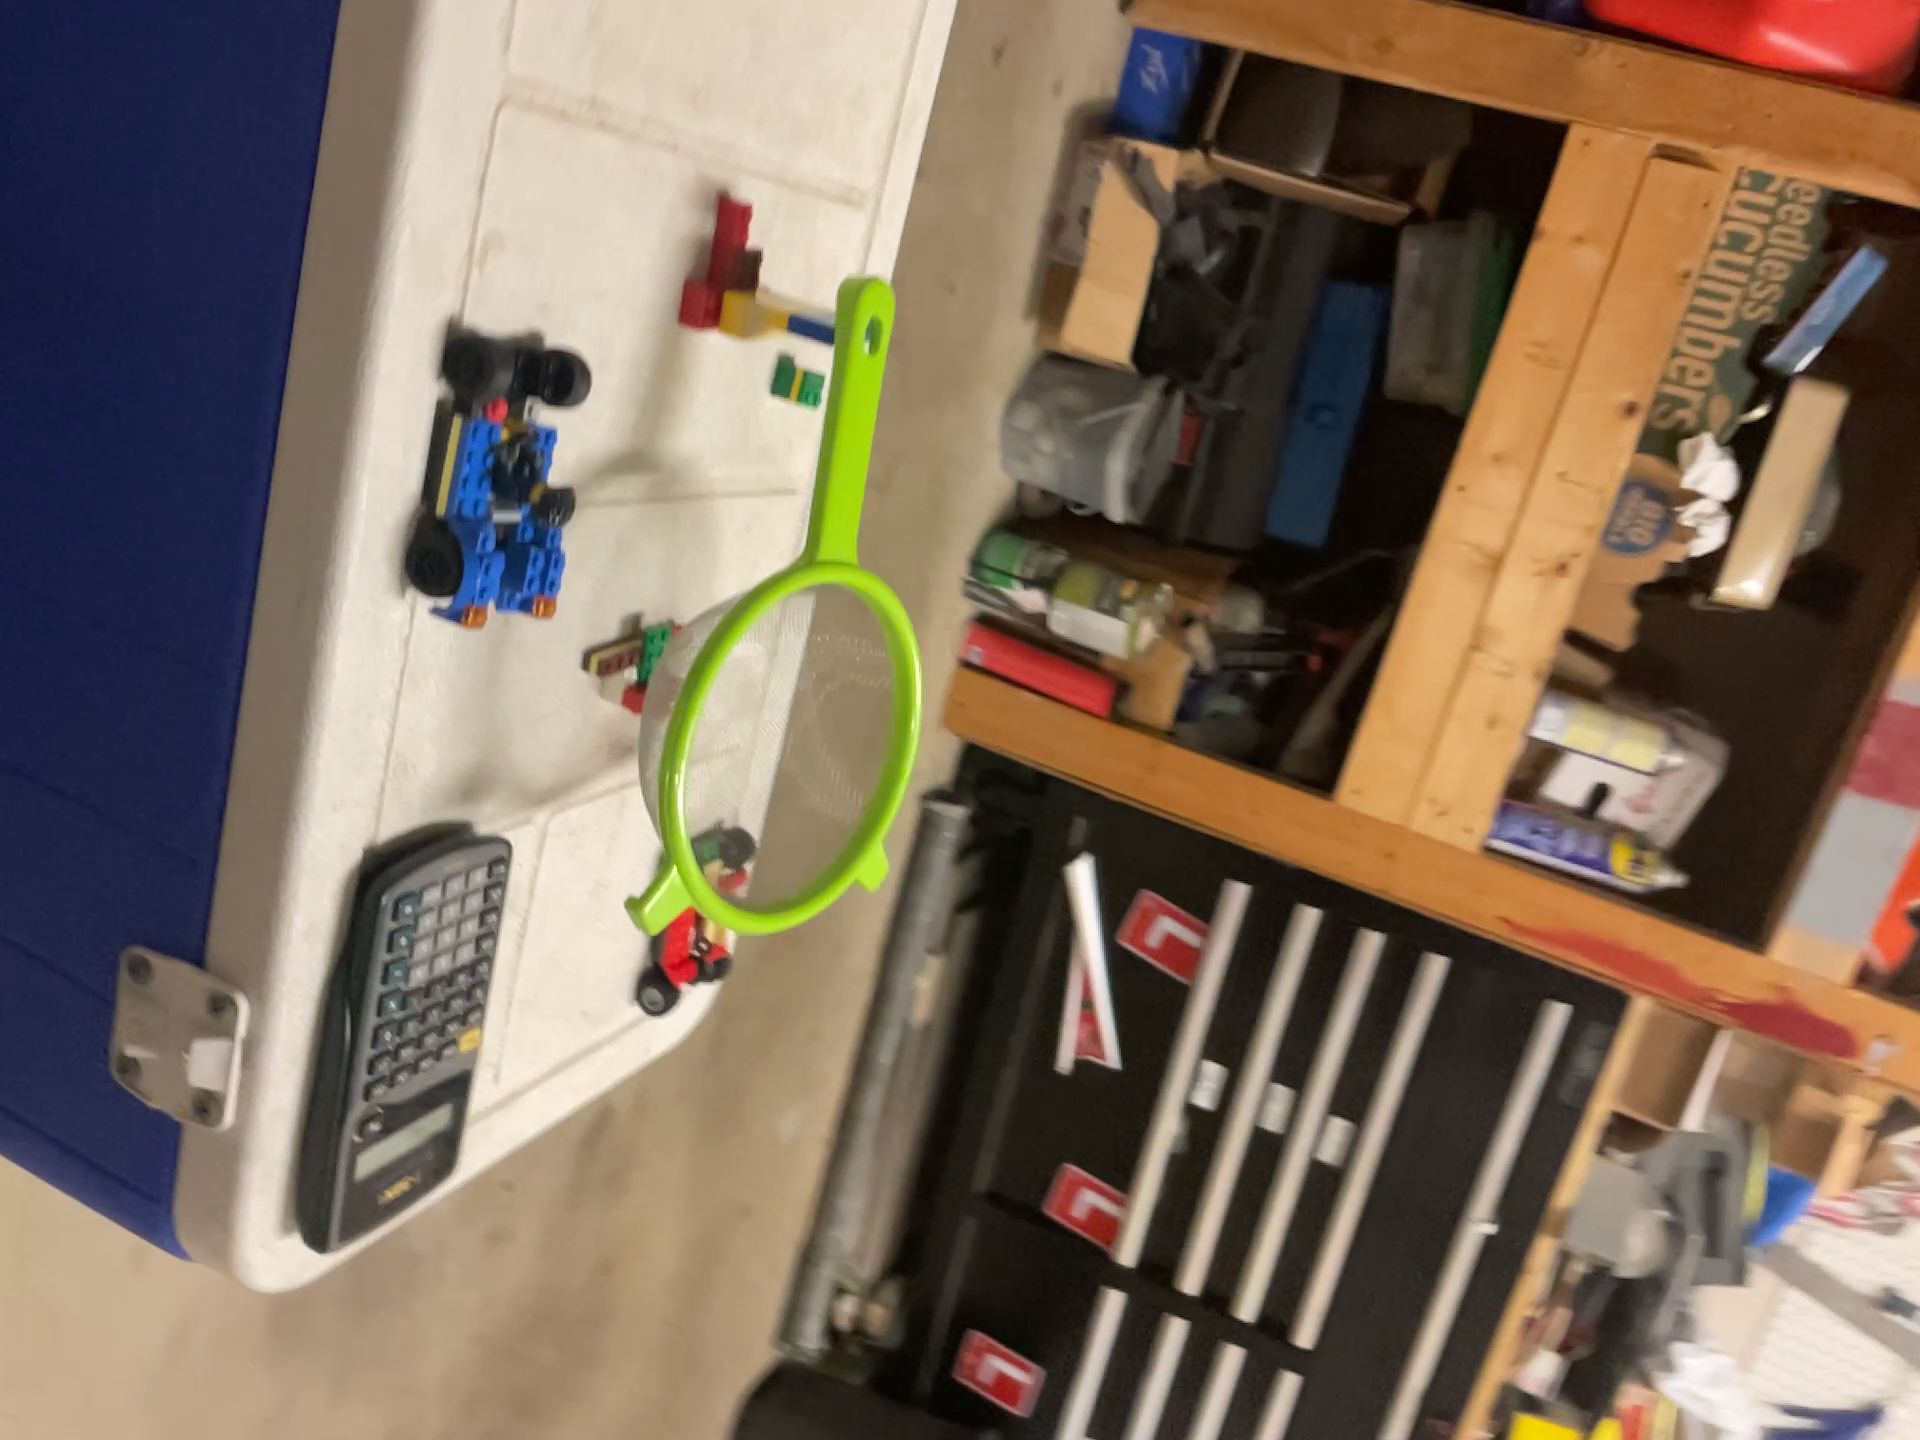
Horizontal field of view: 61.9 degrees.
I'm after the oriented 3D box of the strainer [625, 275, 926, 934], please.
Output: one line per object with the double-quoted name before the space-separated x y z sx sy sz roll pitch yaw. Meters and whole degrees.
"strainer" -0.075 -0.047 0.633 0.152 0.069 0.256 -3 104 -57
